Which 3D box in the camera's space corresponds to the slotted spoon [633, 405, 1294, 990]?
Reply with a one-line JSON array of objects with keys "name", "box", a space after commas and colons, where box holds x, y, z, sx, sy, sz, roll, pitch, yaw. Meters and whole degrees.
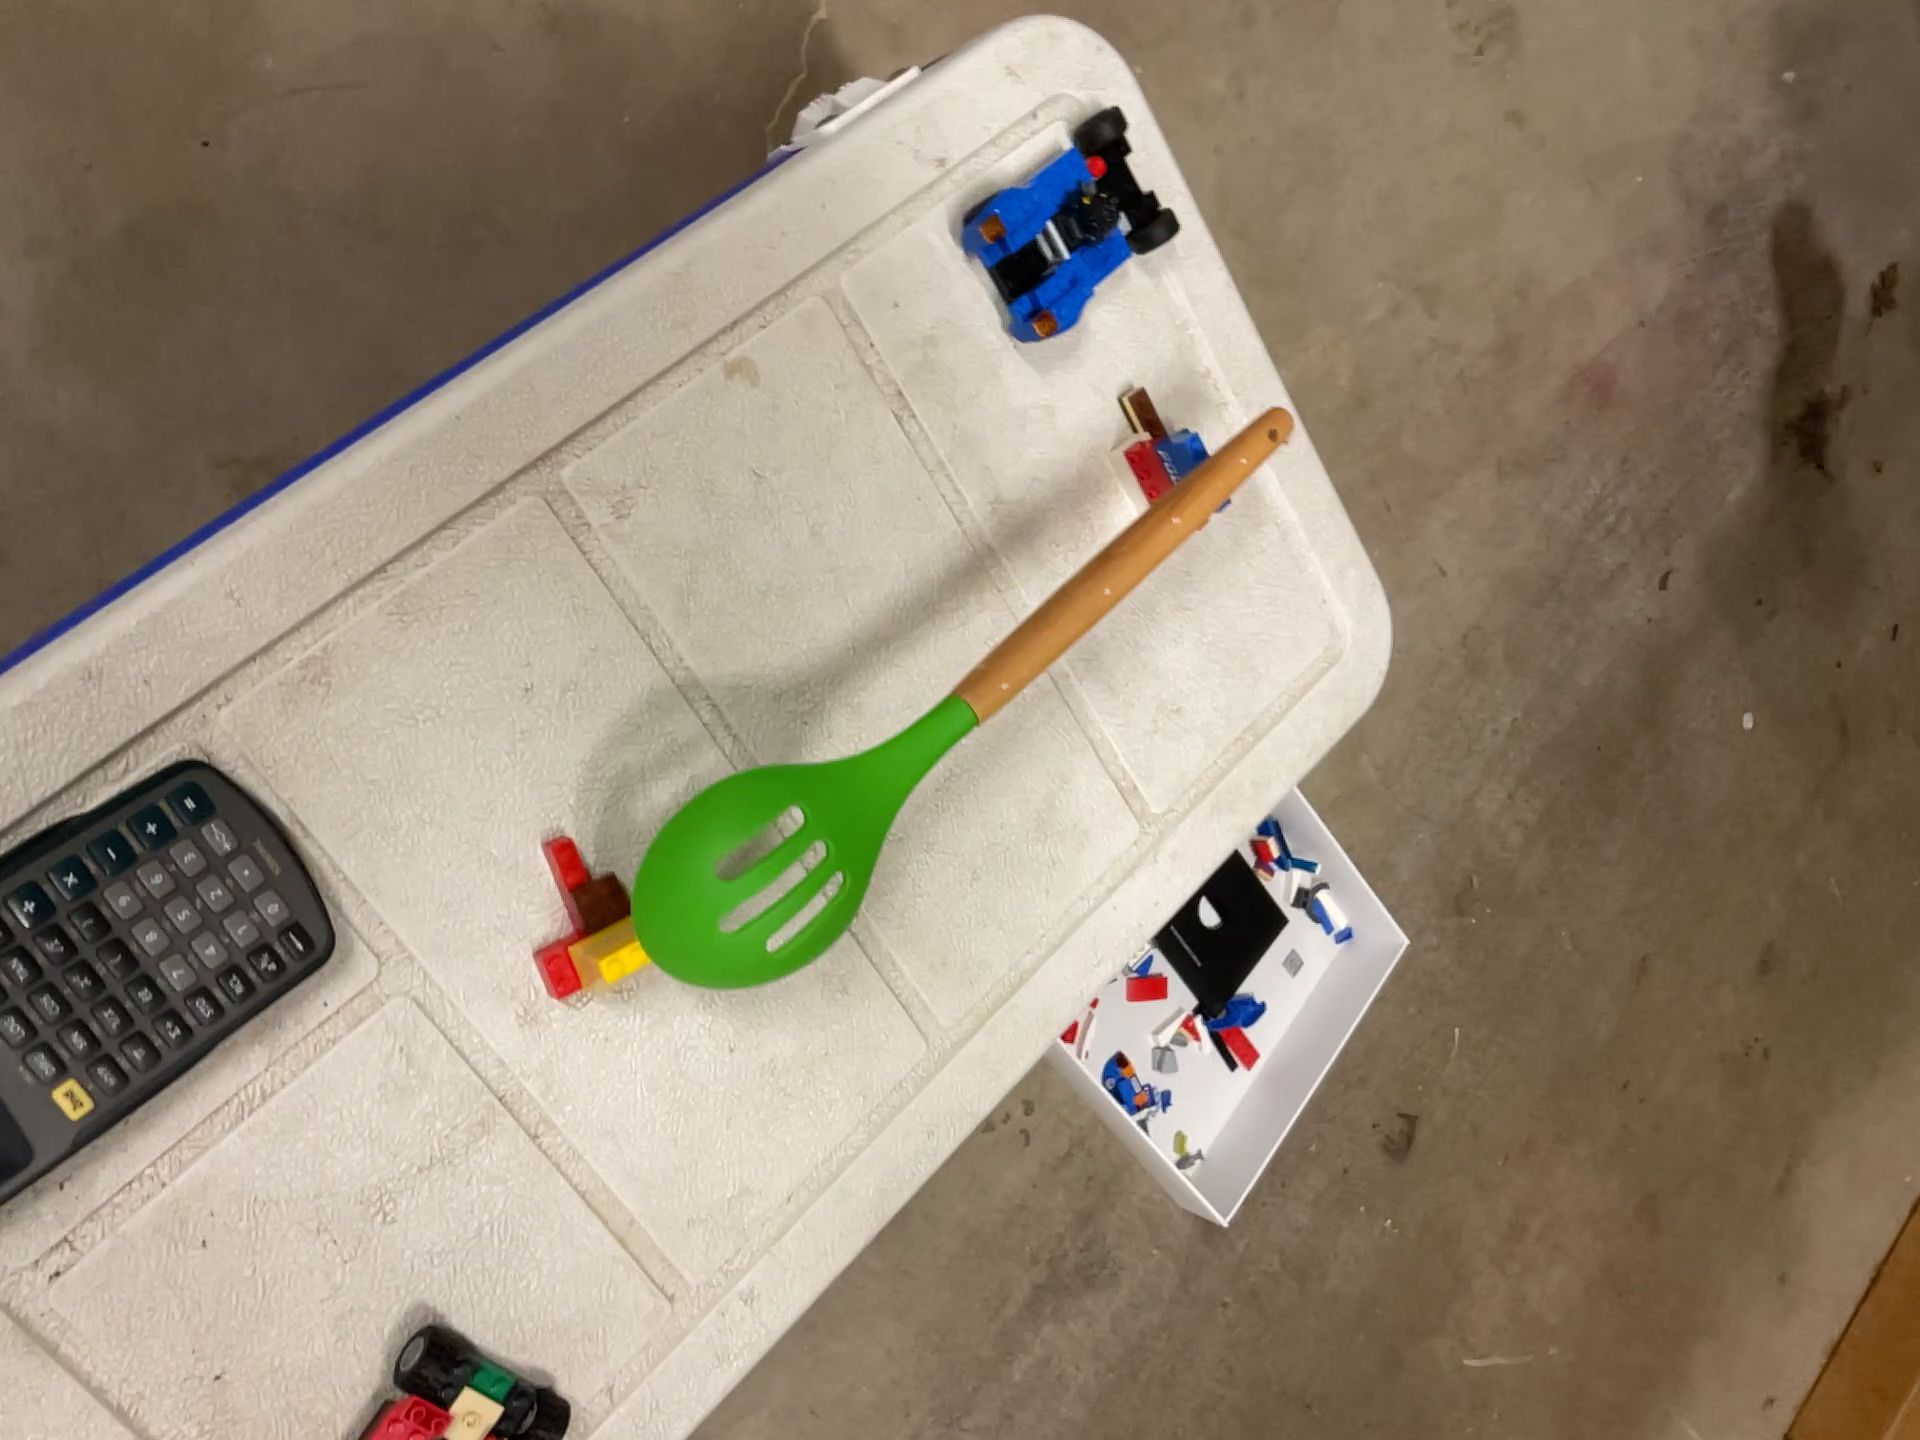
[{"name": "slotted spoon", "box": [0.017, -0.021, 0.553, 0.314, 0.031, 0.070, -42, 112, -24]}]
